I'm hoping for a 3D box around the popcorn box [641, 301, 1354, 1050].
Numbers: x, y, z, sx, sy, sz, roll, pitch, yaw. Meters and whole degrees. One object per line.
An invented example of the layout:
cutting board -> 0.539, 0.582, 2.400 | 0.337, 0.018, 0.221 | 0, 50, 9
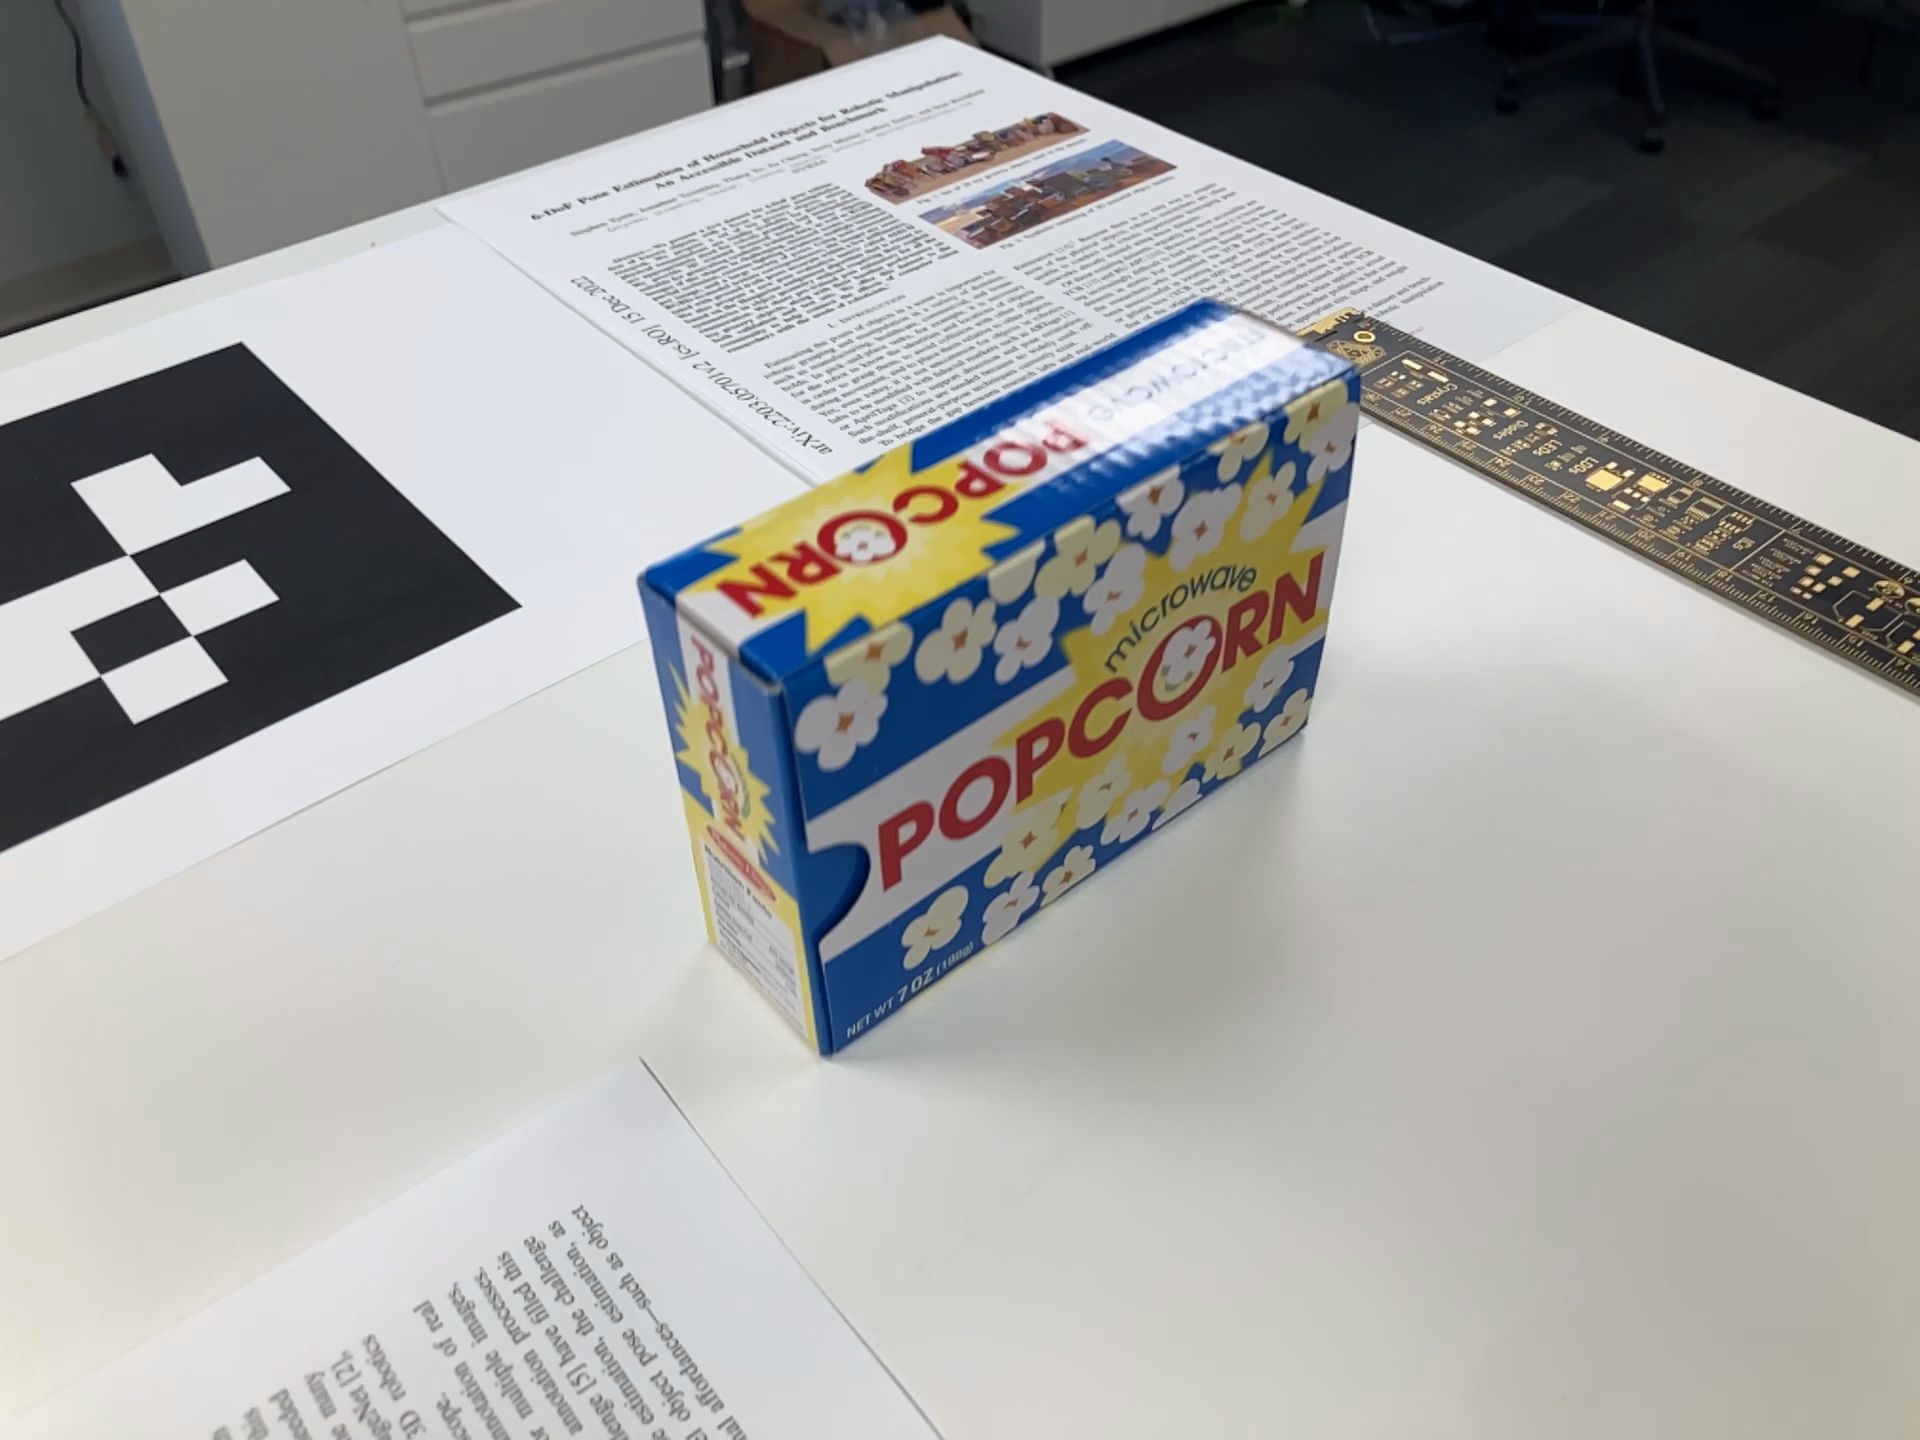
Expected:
popcorn box -> 0.012, -0.011, 0.282 | 0.126, 0.085, 0.038 | -30, 50, -28
